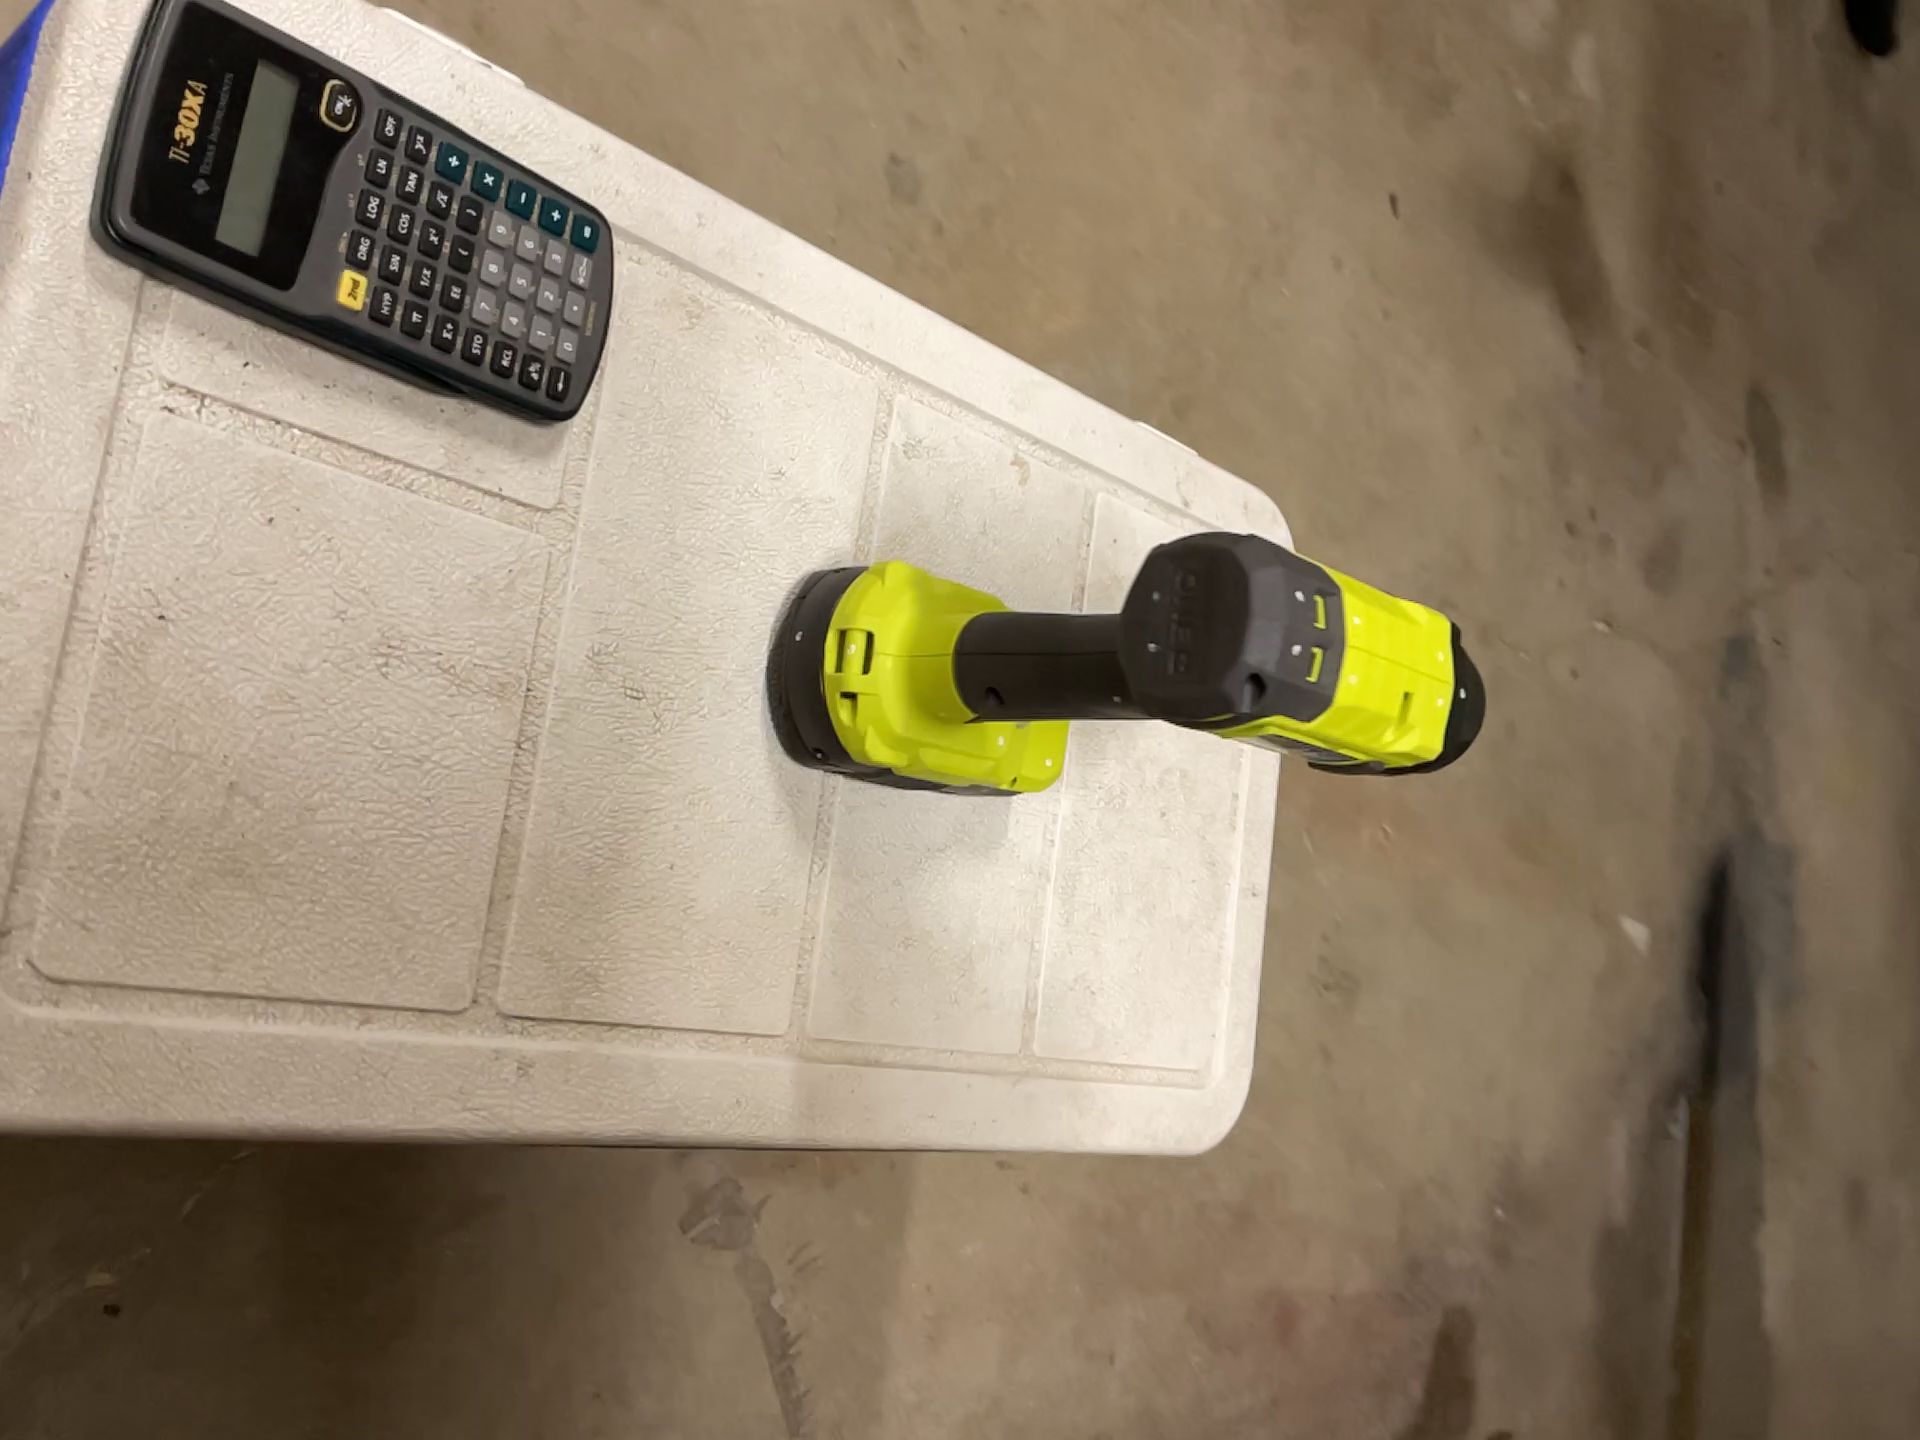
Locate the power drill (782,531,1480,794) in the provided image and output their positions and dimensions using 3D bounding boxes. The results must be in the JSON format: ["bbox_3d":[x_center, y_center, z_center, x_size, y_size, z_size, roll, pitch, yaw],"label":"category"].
[{"bbox_3d":[0.060,-0.013,0.570,0.171,0.223,0.080,14,80,-46],"label":"power drill"}]
